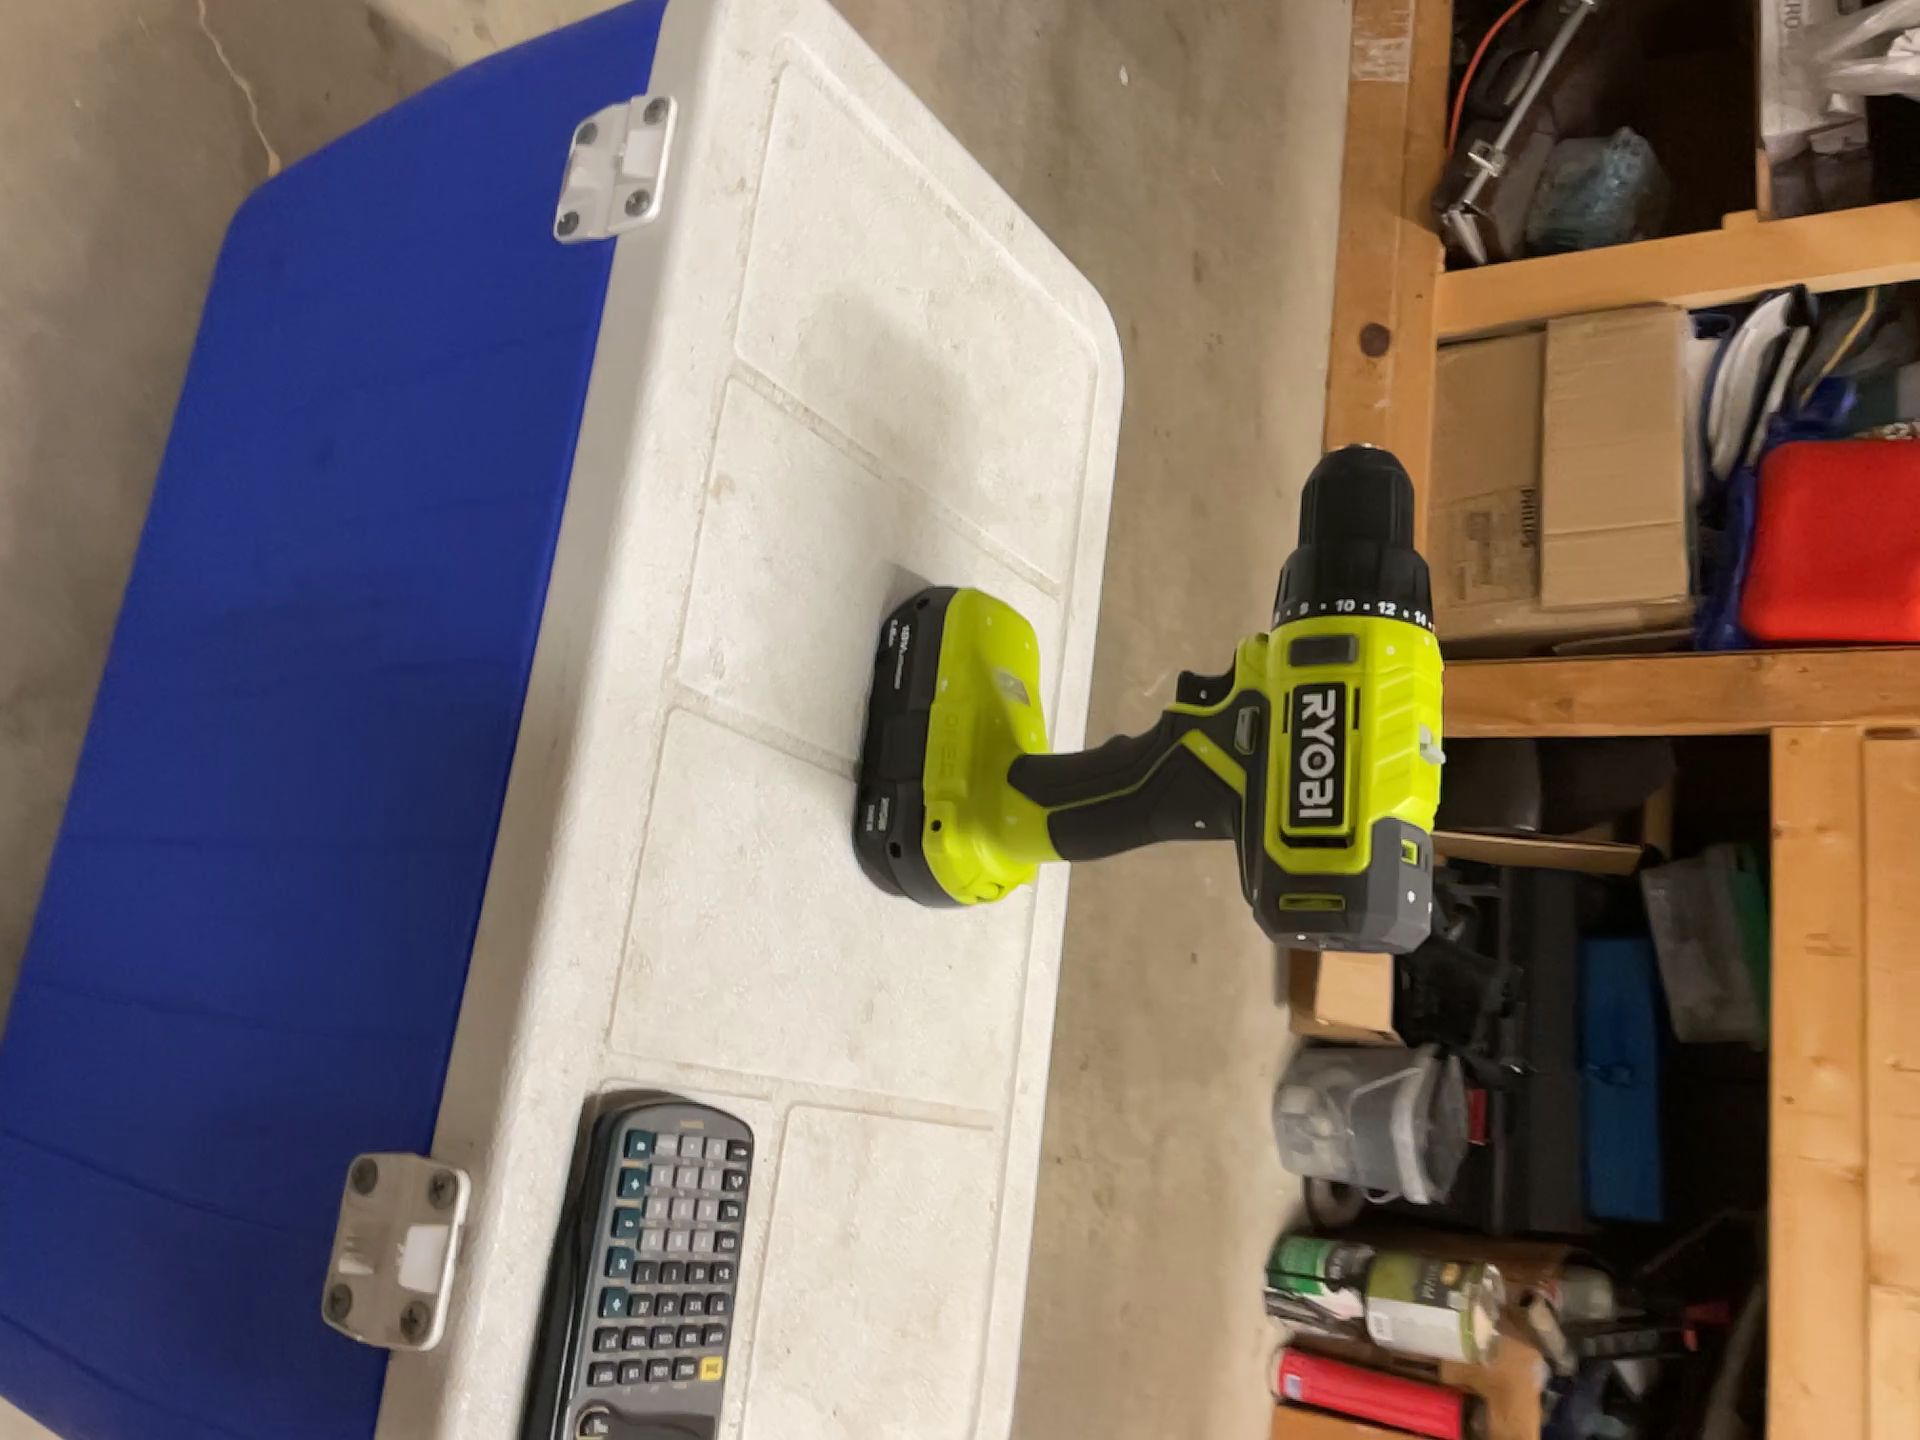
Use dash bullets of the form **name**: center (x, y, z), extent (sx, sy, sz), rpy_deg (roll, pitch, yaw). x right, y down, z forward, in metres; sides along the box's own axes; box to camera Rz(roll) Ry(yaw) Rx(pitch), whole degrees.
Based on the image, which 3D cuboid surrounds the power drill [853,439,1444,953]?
- **power drill**: center (0.077, -0.008, 0.633), extent (0.080, 0.228, 0.191), rpy_deg (26, 65, -54)
